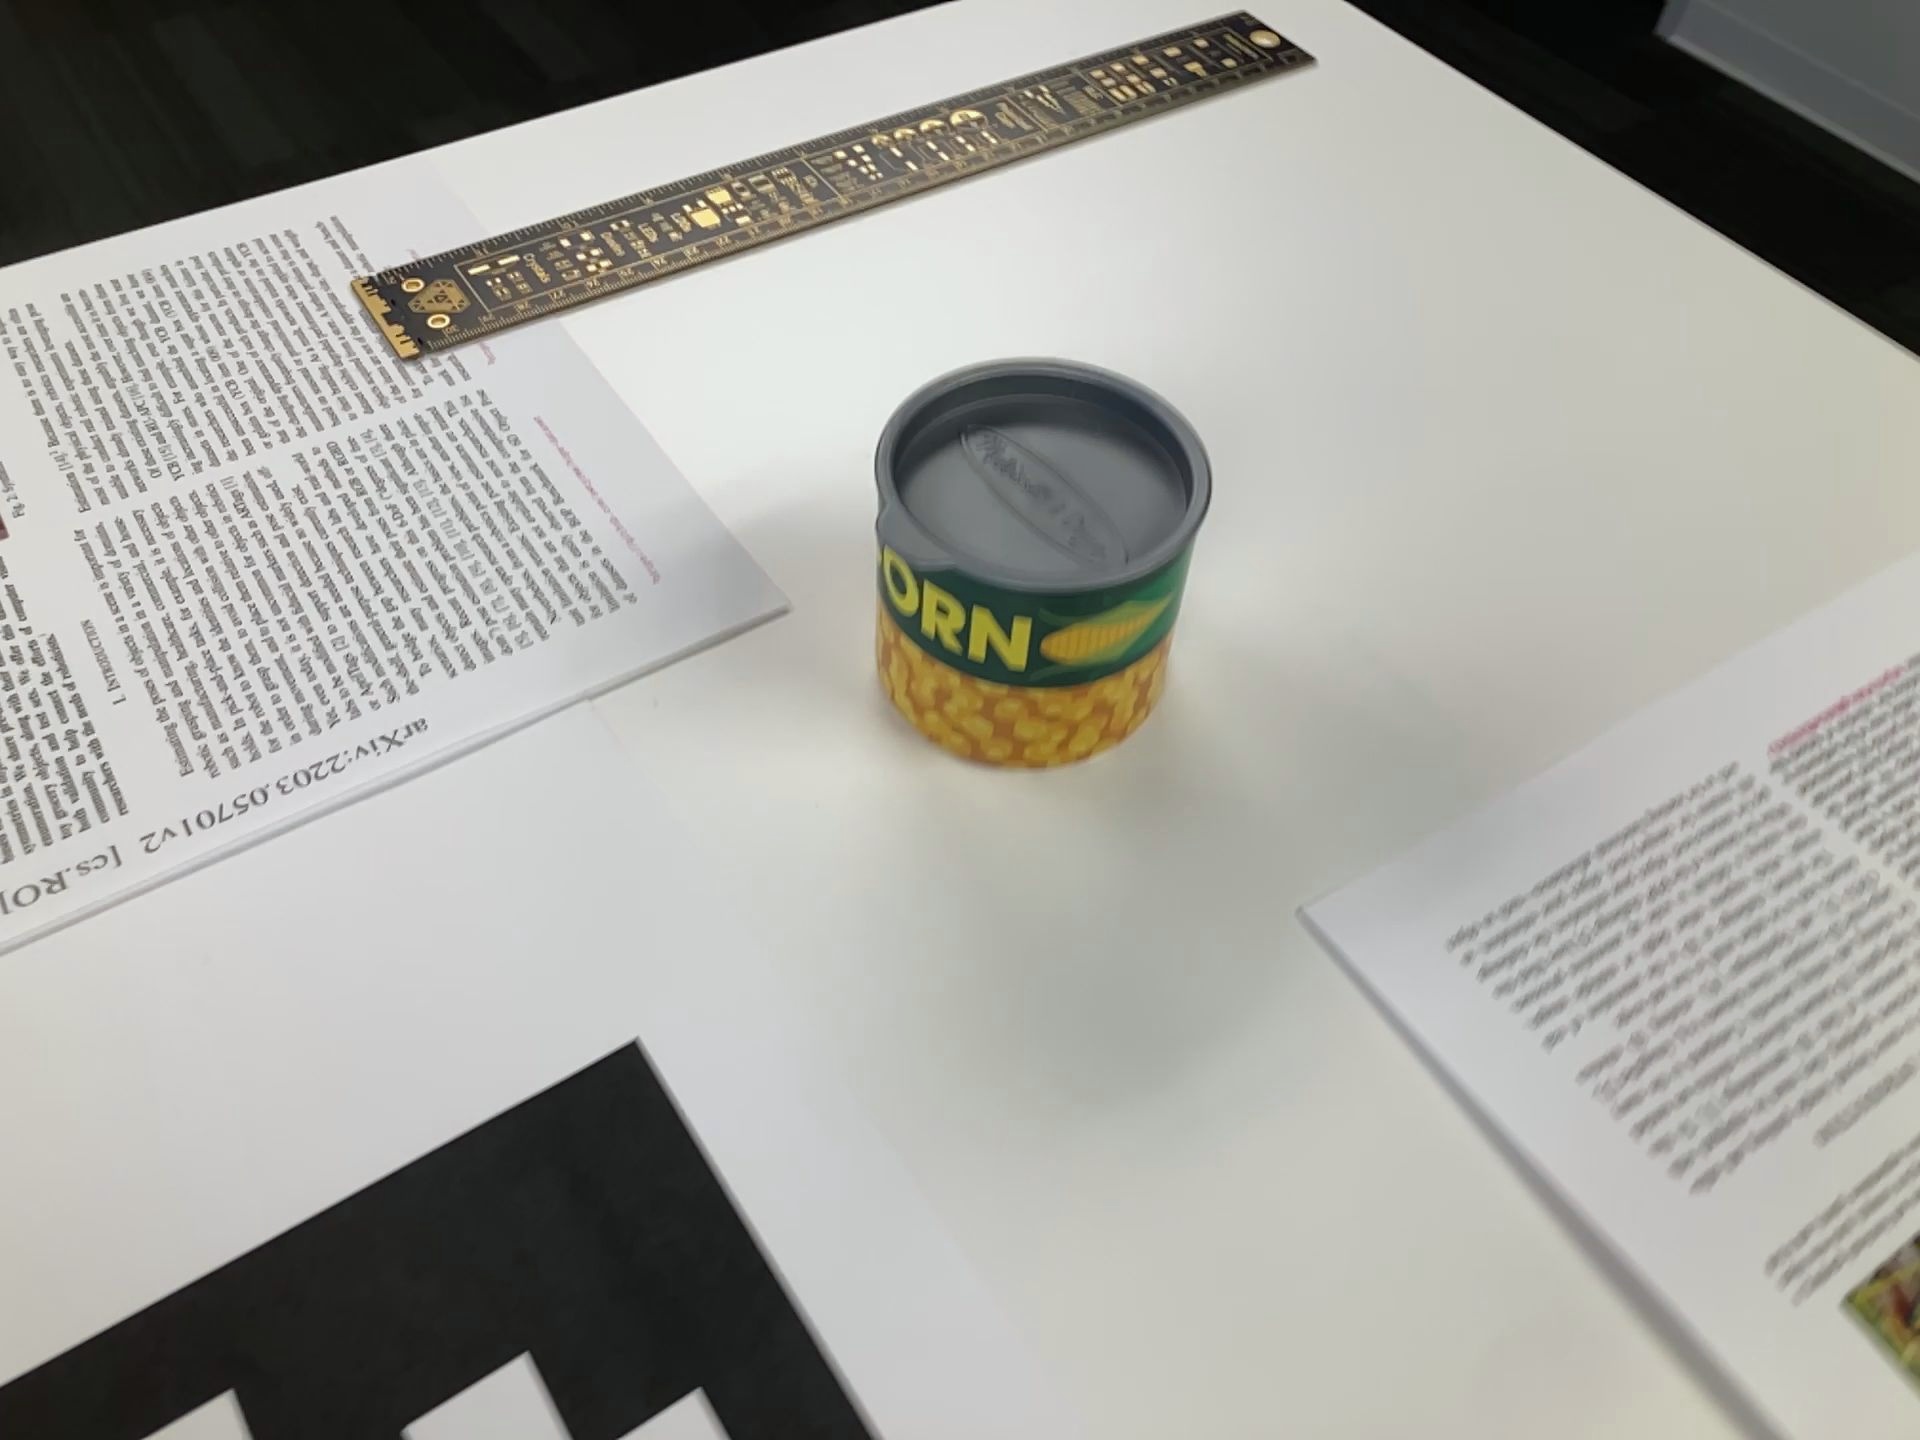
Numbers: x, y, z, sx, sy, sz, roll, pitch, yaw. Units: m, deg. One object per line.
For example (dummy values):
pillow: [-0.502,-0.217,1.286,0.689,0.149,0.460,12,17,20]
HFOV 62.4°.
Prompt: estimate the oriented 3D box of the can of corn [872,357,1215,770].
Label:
can of corn: [0.013,-0.031,0.330,0.071,0.058,0.071,2,51,-2]
